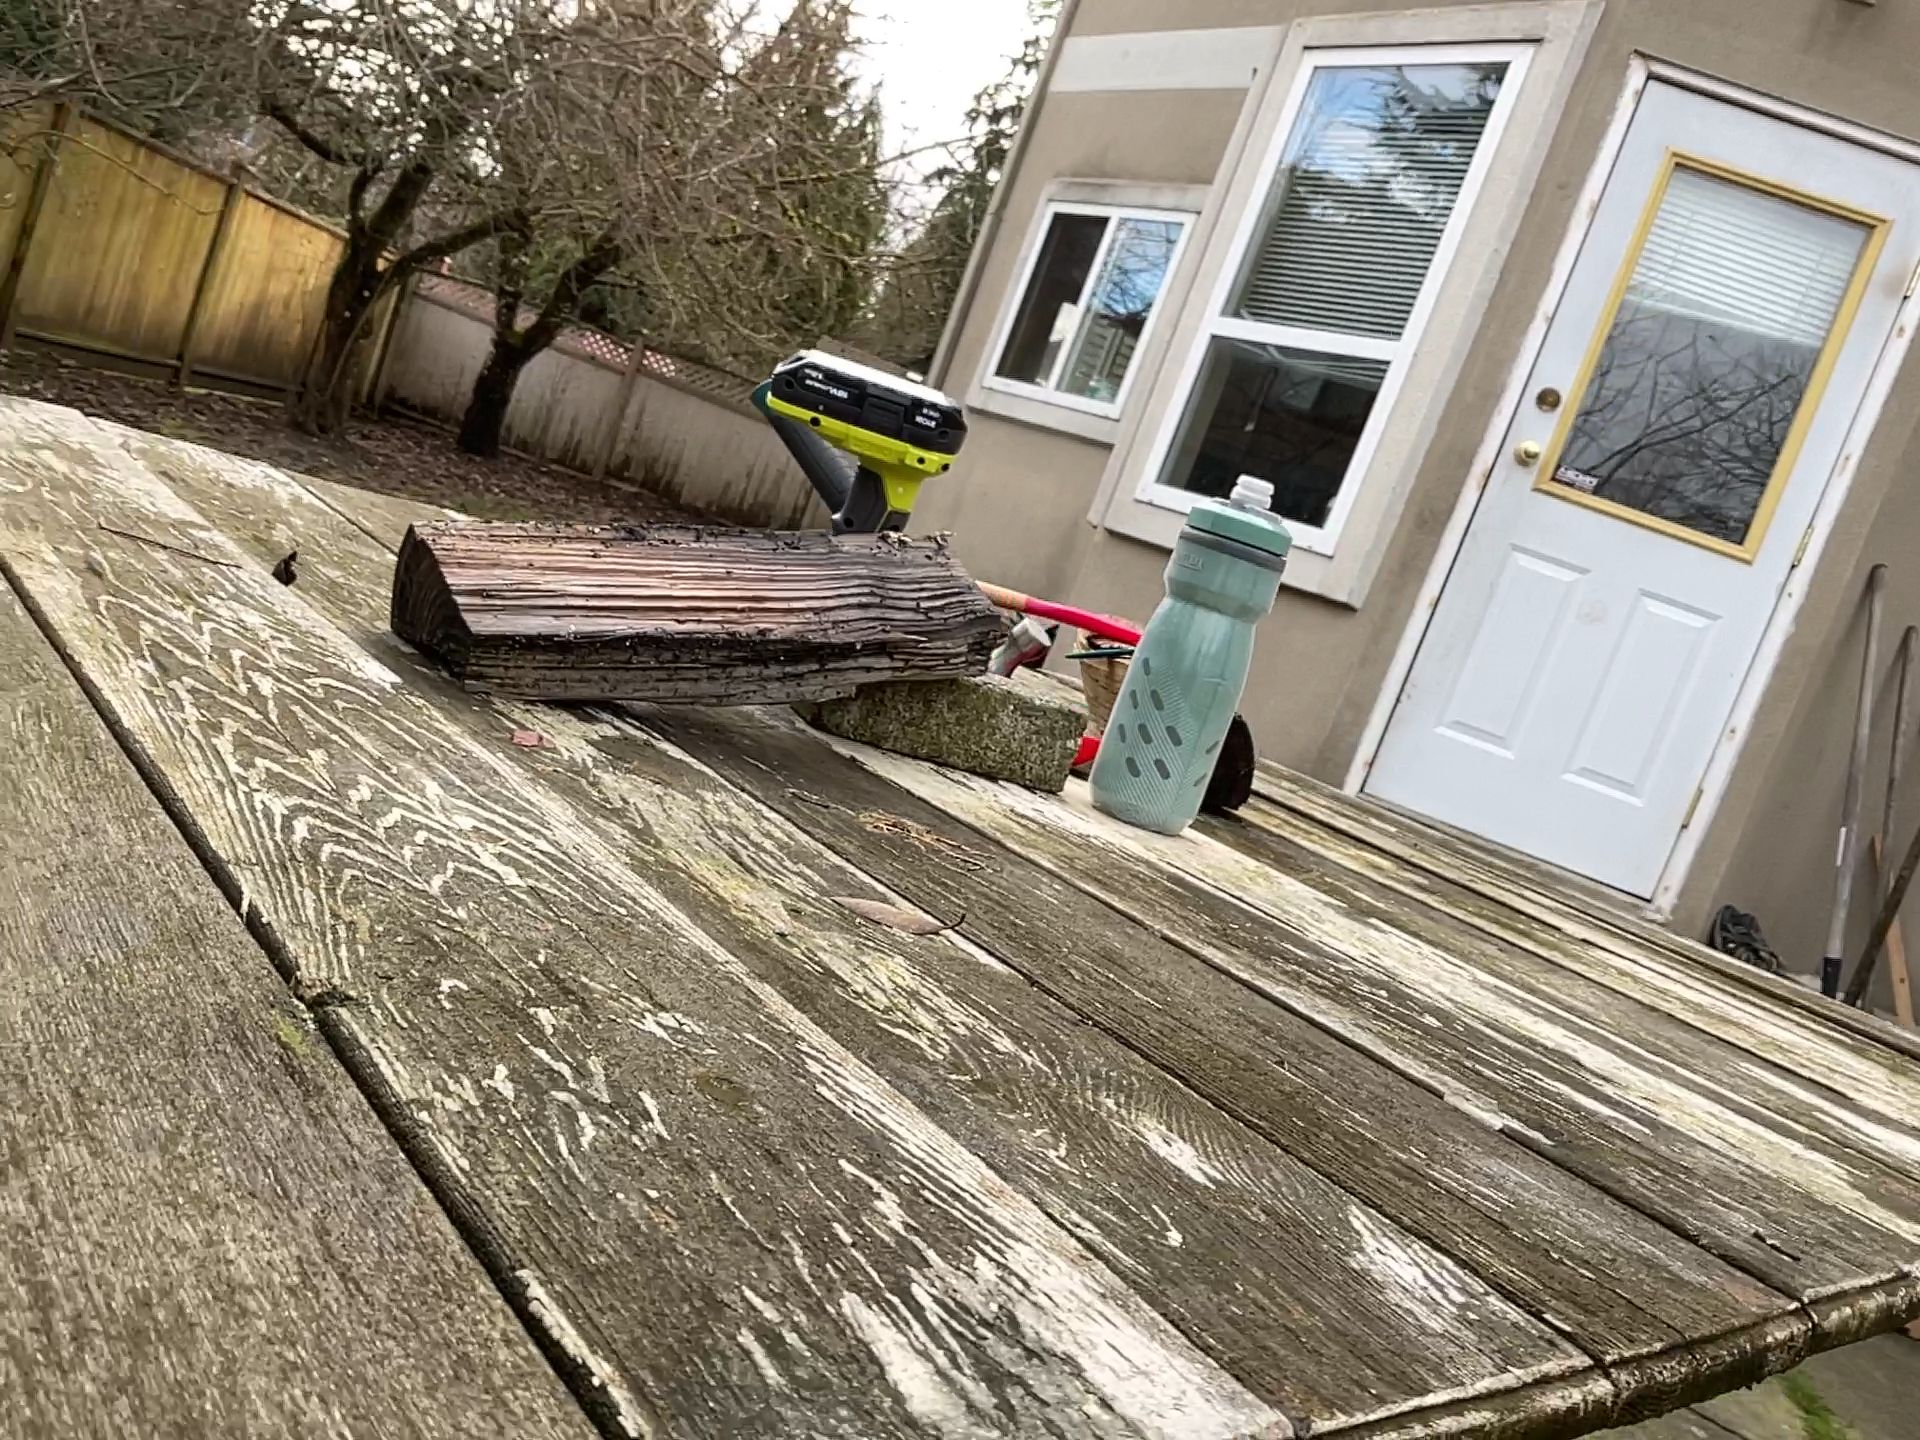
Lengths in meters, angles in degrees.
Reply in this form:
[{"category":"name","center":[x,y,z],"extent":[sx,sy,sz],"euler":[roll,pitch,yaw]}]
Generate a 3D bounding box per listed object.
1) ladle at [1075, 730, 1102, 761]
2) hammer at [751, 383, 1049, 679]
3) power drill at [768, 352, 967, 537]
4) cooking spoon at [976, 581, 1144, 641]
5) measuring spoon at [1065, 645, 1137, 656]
[{"category":"ladle","center":[0.027,-0.011,1.295],"extent":[0.069,0.031,0.316],"euler":[13,7,-25]},{"category":"hammer","center":[-0.068,-0.147,1.277],"extent":[0.331,0.128,0.033],"euler":[56,18,17]},{"category":"power drill","center":[-0.098,-0.133,1.108],"extent":[0.171,0.223,0.080],"euler":[17,15,-9]},{"category":"cooking spoon","center":[0.035,-0.107,1.393],"extent":[0.318,0.017,0.069],"euler":[14,9,-7]},{"category":"measuring spoon","center":[0.141,-0.047,1.247],"extent":[0.129,0.021,0.042],"euler":[-2,-4,30]}]
